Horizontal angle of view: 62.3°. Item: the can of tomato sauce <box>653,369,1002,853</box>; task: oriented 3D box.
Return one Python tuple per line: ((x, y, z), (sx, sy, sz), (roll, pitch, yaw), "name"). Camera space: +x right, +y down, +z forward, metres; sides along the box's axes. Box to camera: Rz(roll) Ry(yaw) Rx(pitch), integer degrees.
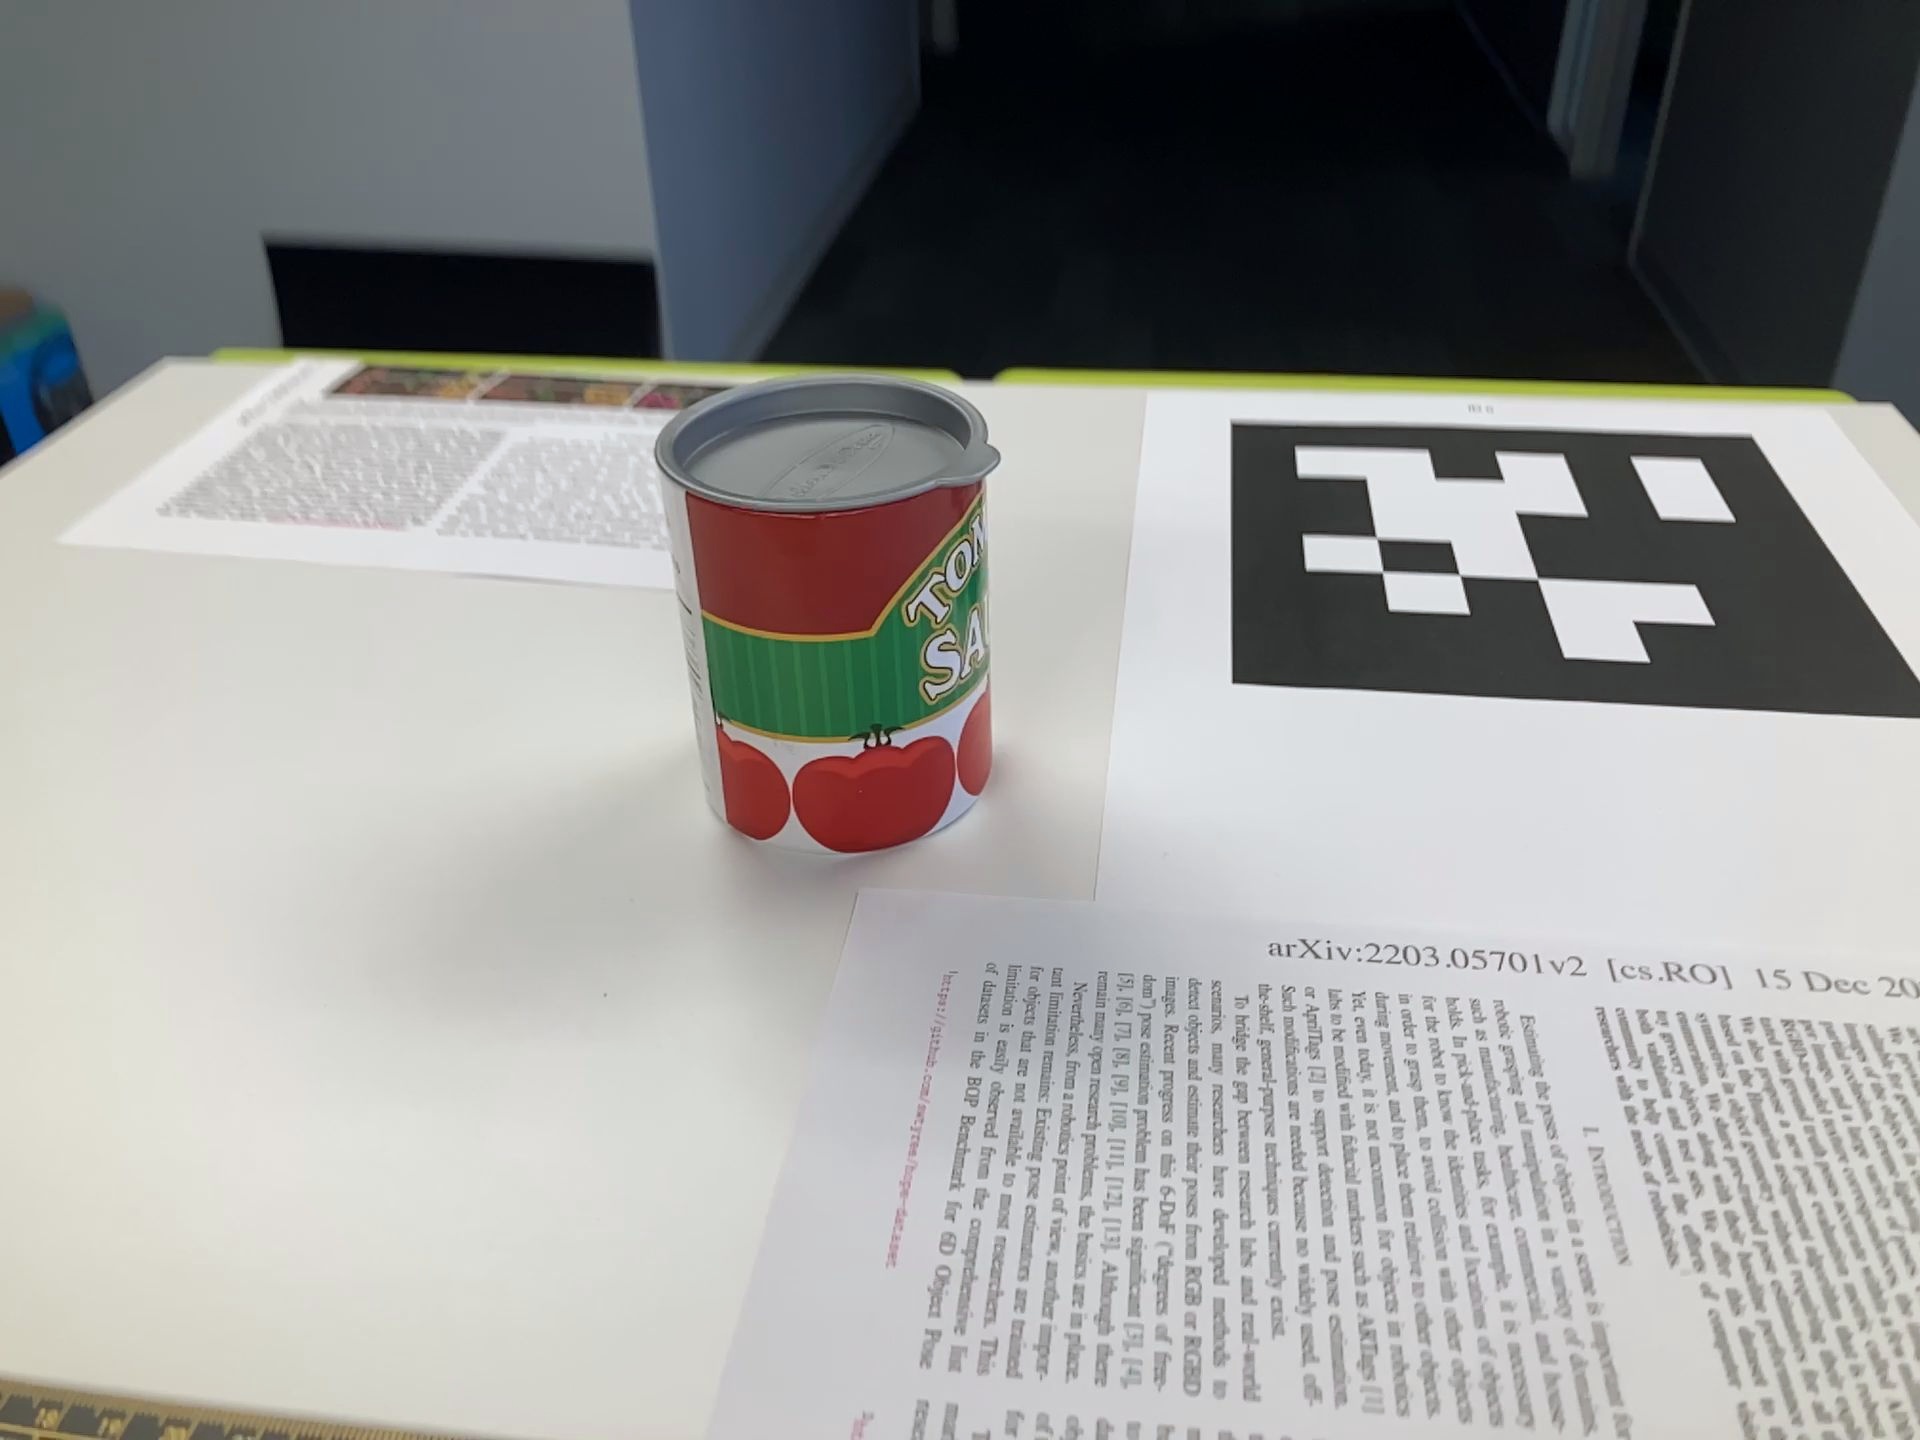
((-0.025, -0.023, 0.339), (0.071, 0.083, 0.071), (-1, 33, 1), "can of tomato sauce")
